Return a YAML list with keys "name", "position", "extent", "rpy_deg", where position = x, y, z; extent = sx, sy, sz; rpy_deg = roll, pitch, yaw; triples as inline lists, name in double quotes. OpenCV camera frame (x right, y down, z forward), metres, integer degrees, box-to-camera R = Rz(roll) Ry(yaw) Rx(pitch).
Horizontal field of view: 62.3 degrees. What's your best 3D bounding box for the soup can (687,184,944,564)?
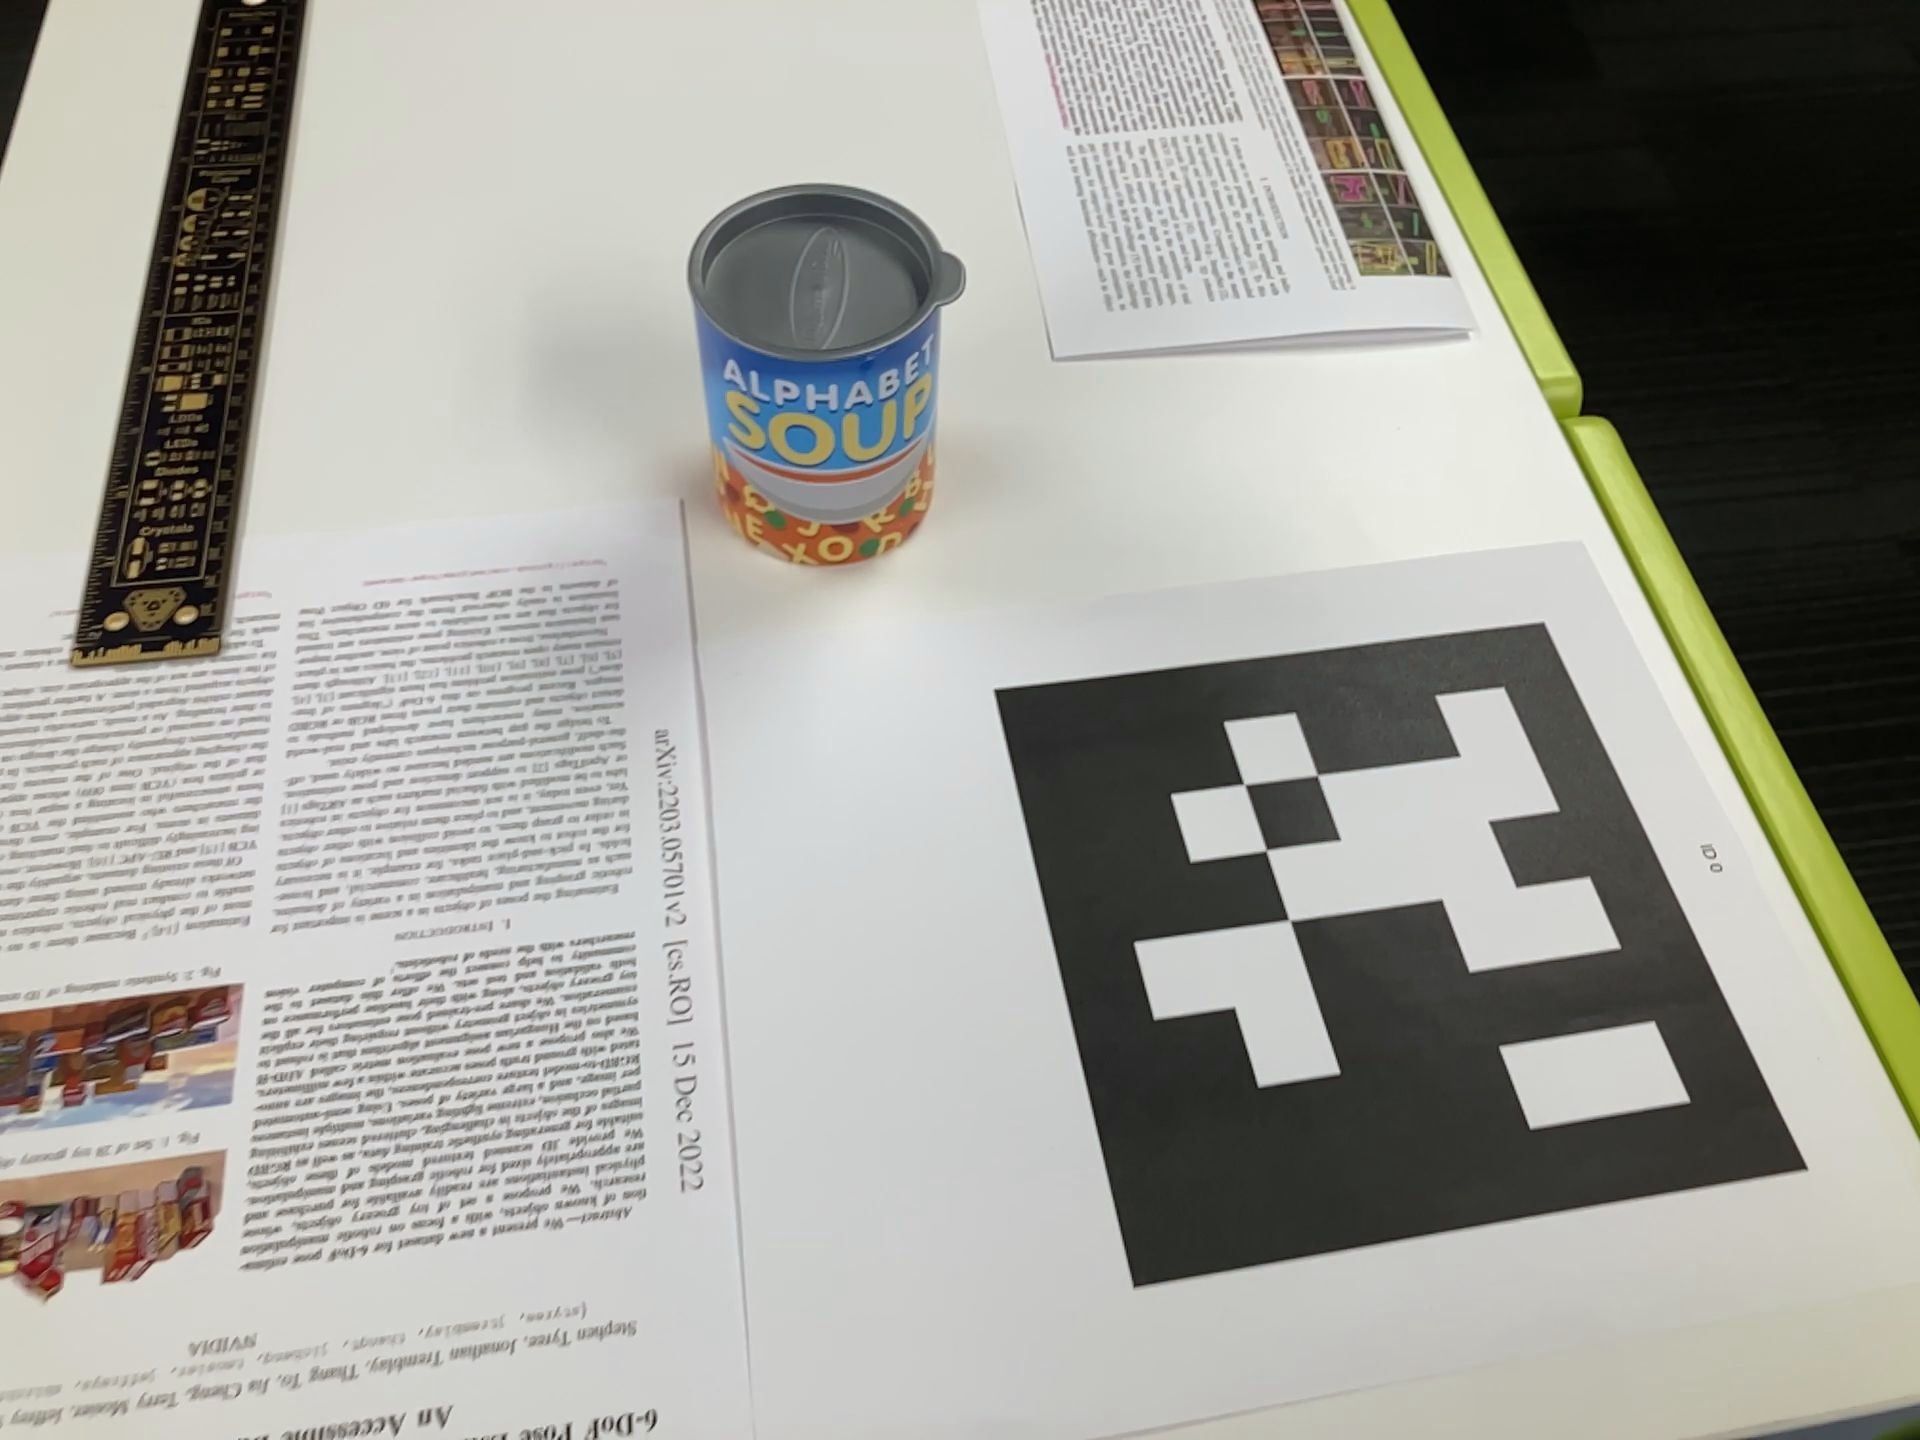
- name: "soup can"
  position: [-0.038, -0.092, 0.443]
  extent: [0.071, 0.084, 0.071]
  rpy_deg: [1, 56, -1]
